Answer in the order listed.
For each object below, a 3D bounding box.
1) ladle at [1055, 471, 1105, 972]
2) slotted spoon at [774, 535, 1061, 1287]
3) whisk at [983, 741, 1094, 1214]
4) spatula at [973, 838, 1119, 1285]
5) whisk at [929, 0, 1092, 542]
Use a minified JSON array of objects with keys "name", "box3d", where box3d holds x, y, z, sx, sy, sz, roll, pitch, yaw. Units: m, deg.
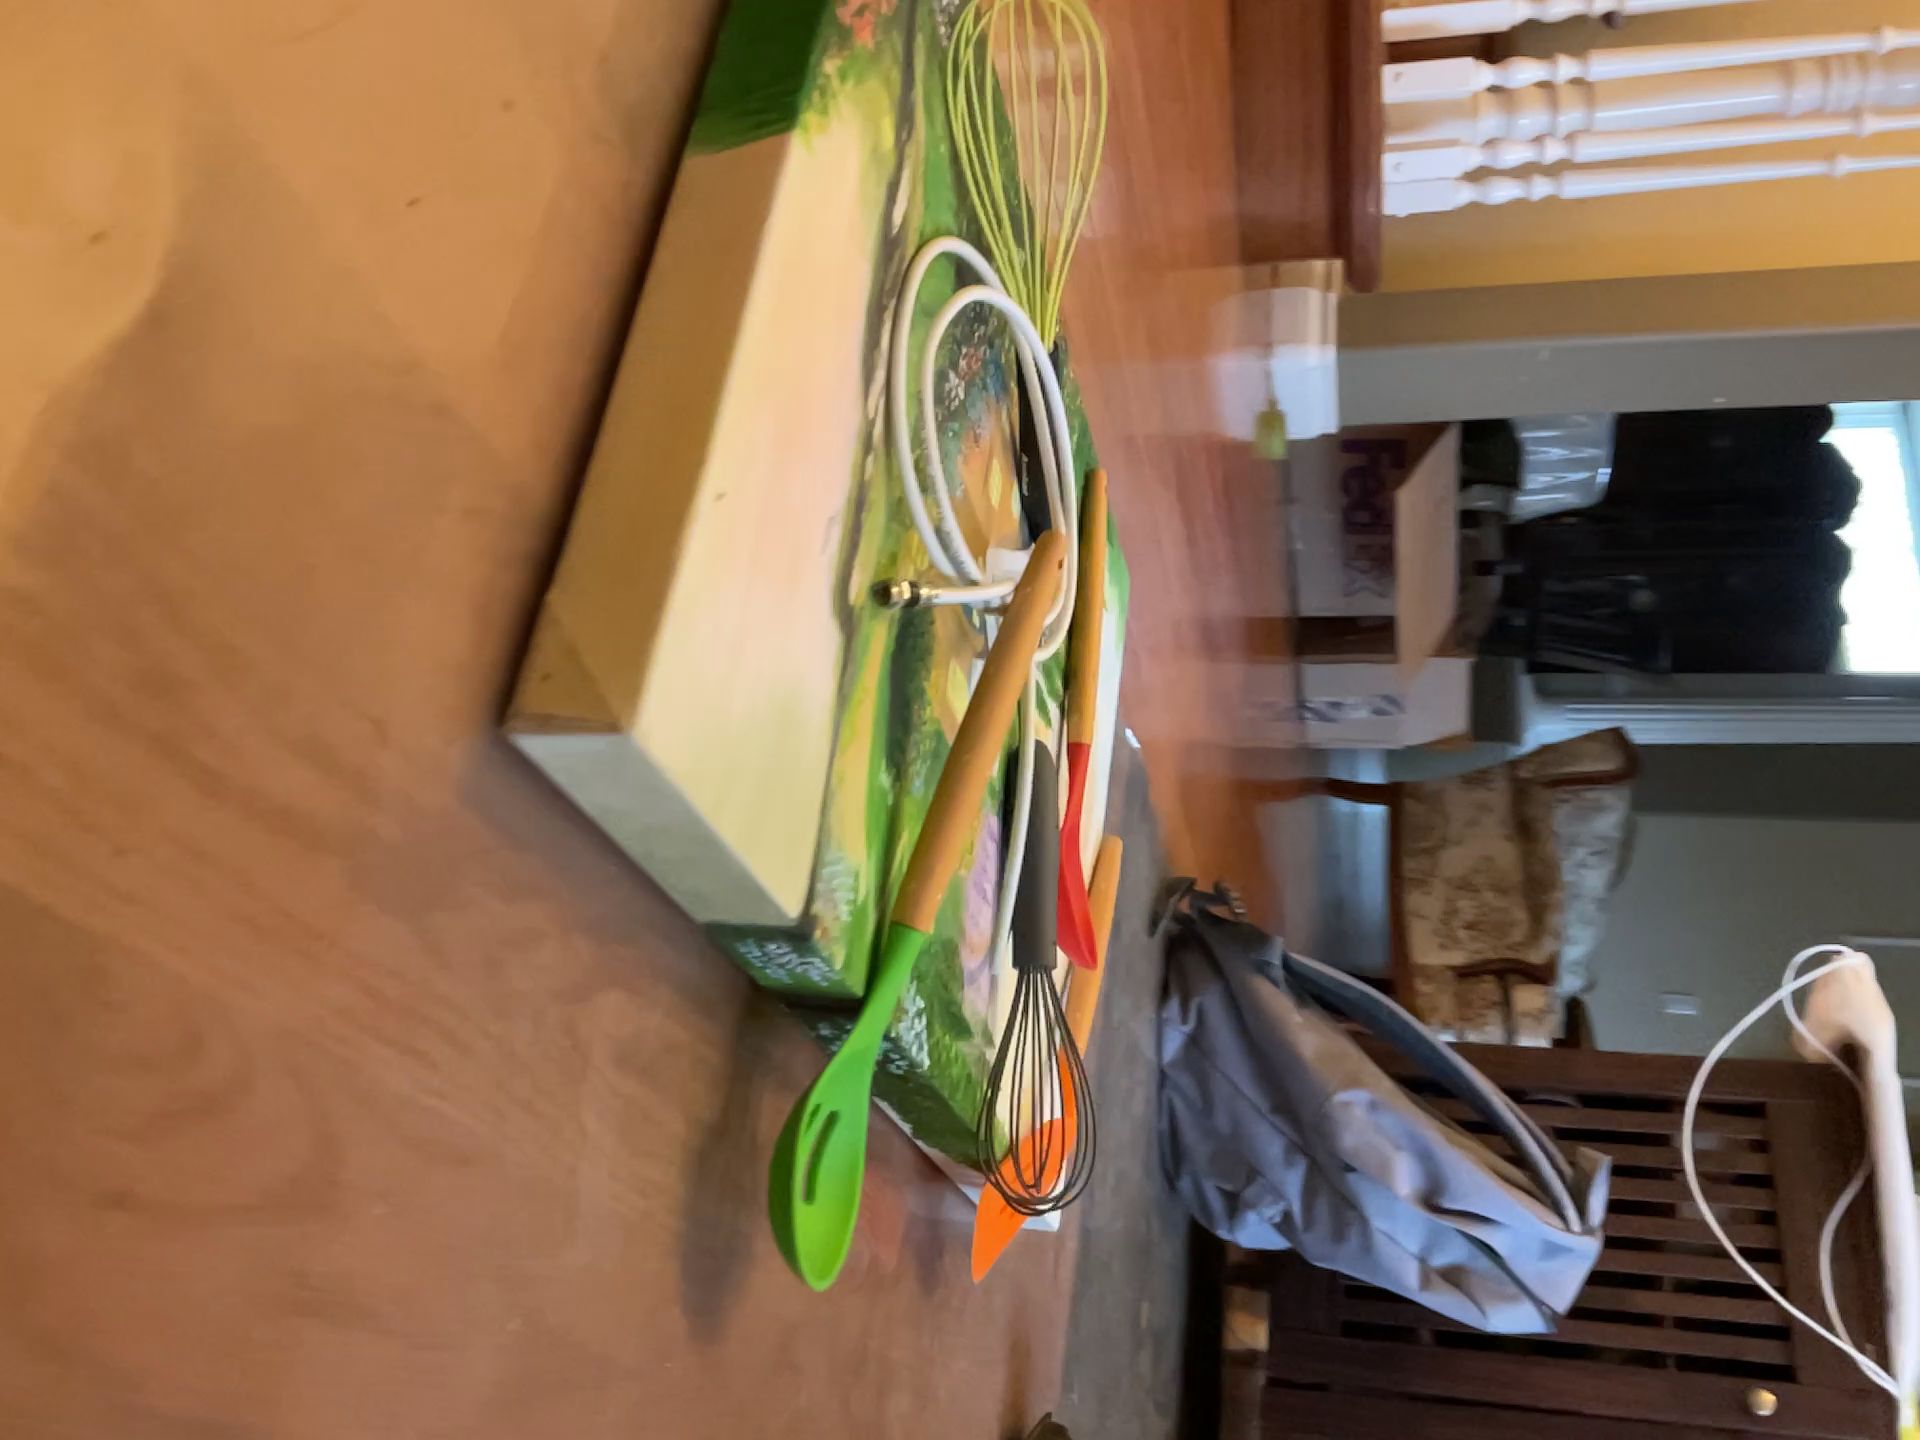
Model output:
[{"name":"ladle","box3d":[0.073,-0.007,0.944,0.069,0.031,0.316,56,35,-65]},{"name":"slotted spoon","box3d":[-0.012,0.061,0.627,0.070,0.031,0.314,60,46,-59]},{"name":"whisk","box3d":[0.039,0.122,0.793,0.055,0.055,0.239,77,12,-68]},{"name":"spatula","box3d":[0.059,0.176,0.928,0.323,0.041,0.081,-71,167,-52]},{"name":"whisk","box3d":[0.032,-0.207,0.765,0.311,0.067,0.080,83,22,-43]}]
